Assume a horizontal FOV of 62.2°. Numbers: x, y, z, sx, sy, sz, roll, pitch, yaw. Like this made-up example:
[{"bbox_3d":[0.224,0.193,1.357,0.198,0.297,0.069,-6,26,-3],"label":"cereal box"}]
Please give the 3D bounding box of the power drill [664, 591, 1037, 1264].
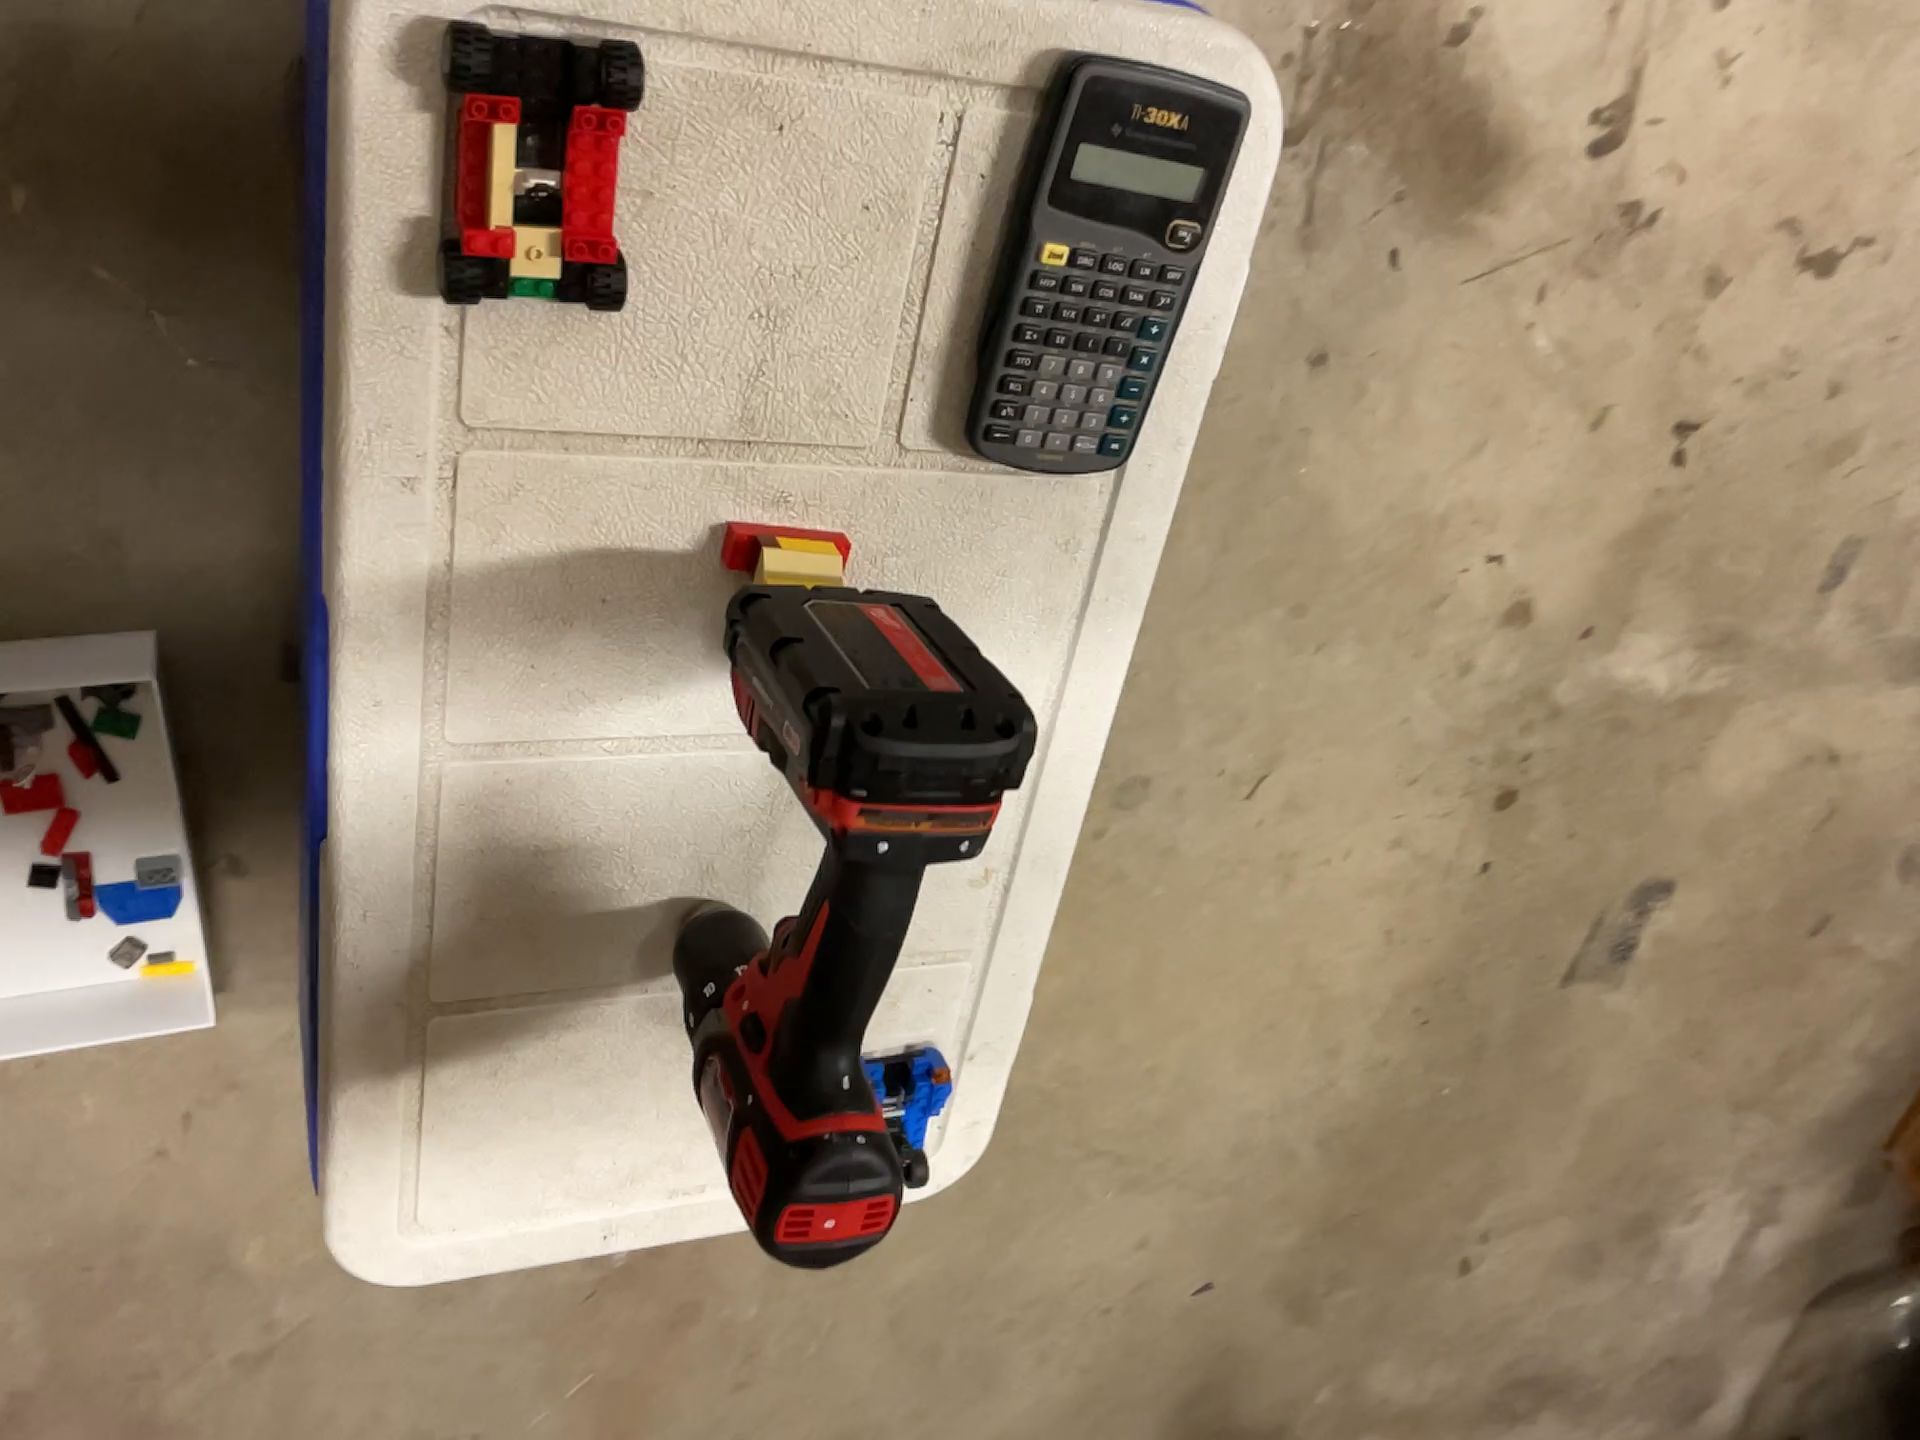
[{"bbox_3d":[-0.062,0.066,0.615,0.080,0.188,0.226,2,116,-28],"label":"power drill"}]
